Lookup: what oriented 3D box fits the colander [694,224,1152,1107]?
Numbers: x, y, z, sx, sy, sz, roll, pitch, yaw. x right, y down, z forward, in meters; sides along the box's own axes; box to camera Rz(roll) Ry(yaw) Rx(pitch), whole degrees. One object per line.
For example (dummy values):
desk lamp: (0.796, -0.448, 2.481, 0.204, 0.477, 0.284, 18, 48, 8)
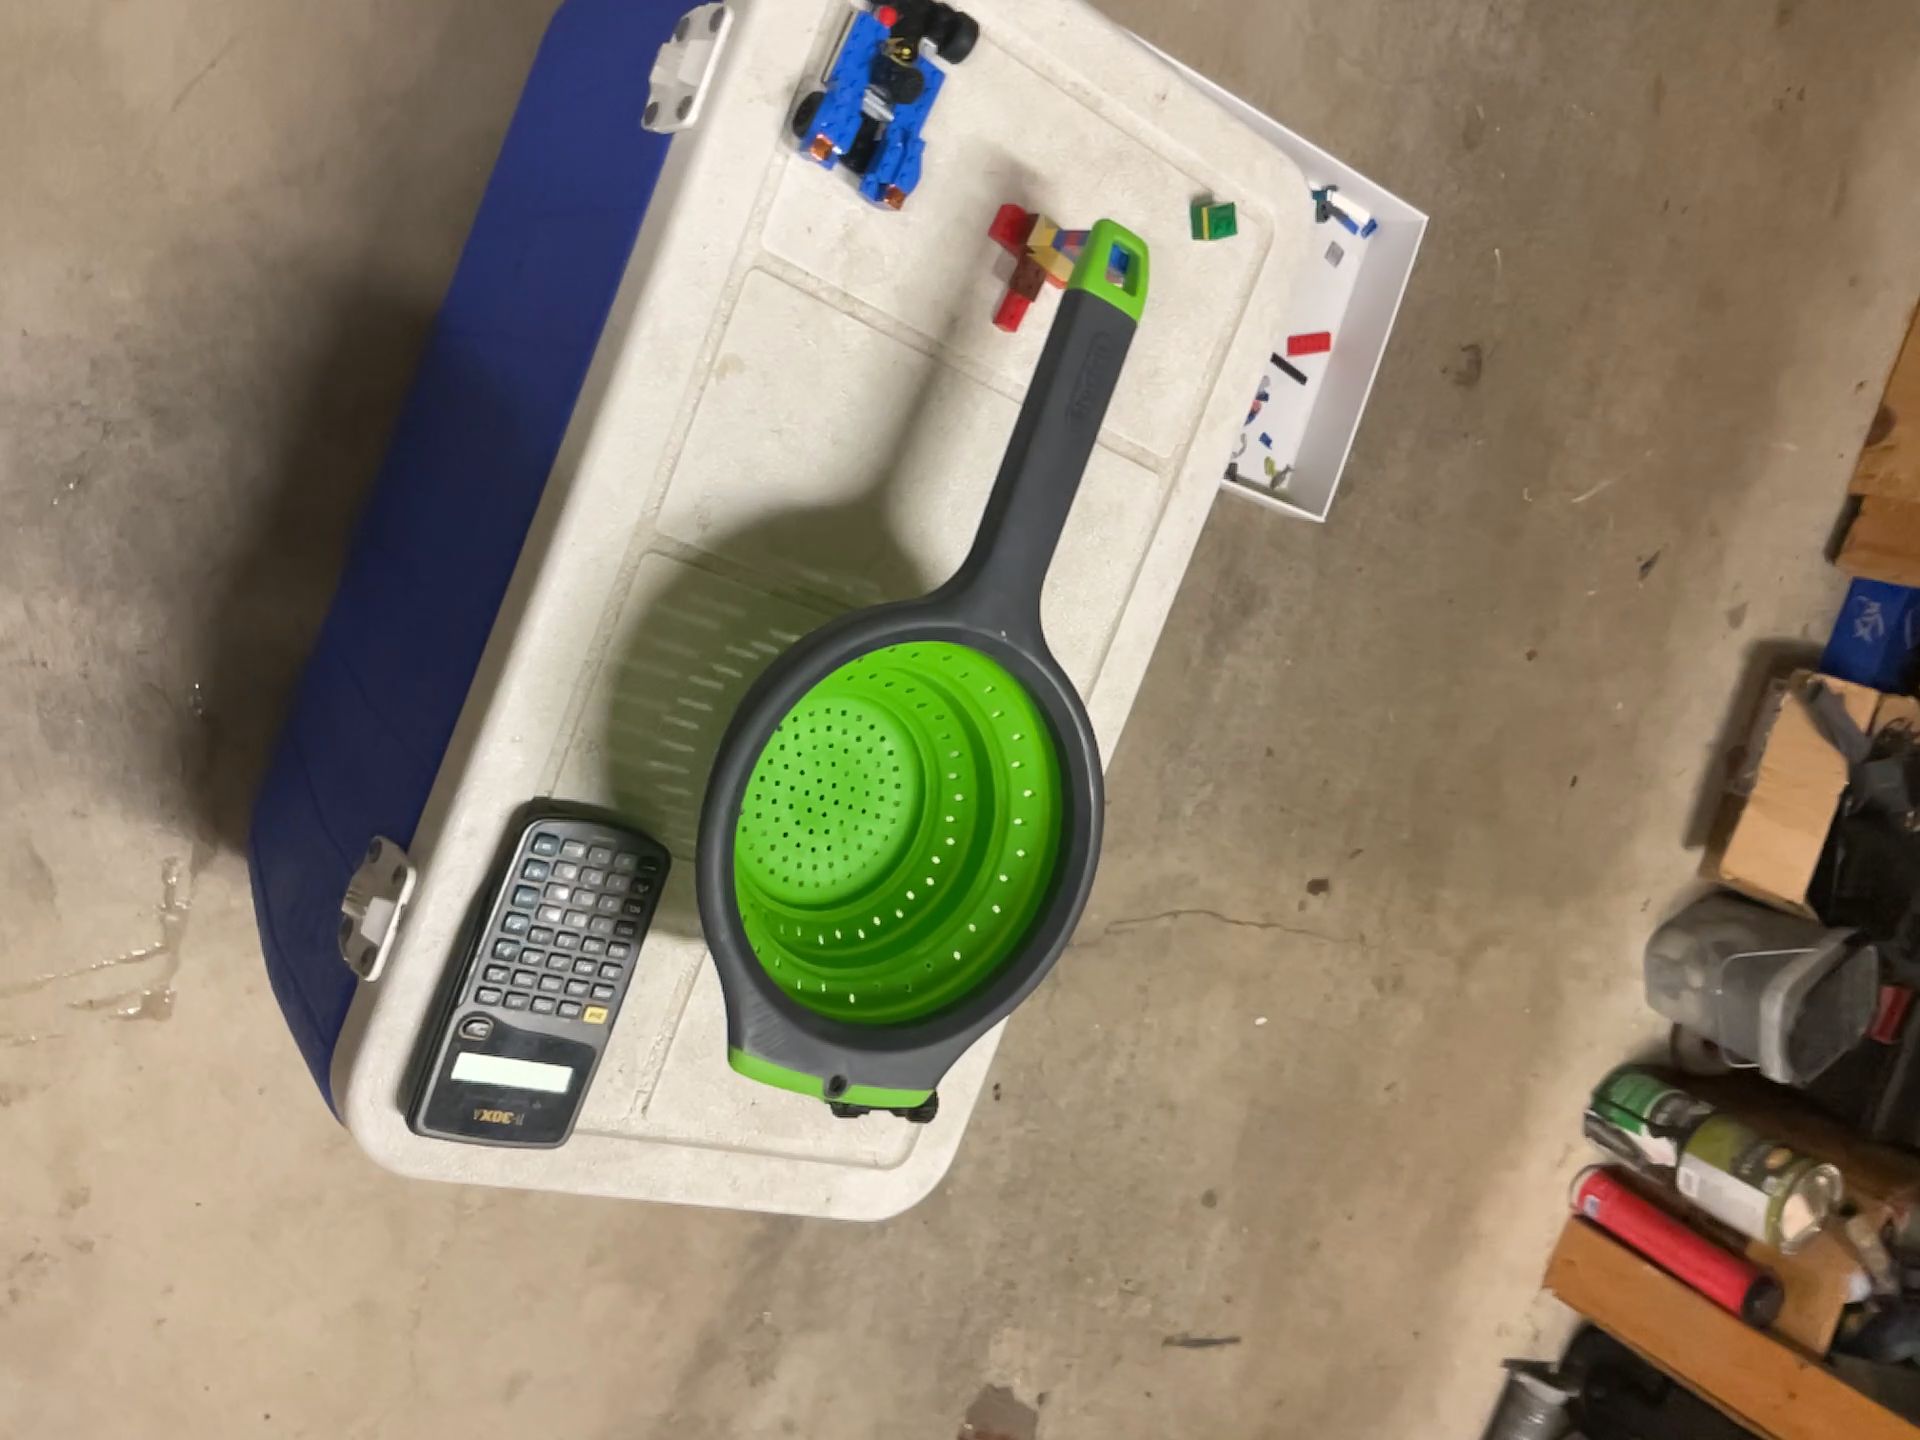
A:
colander: (-0.012, -0.032, 0.721, 0.204, 0.094, 0.397, 21, 87, -34)
